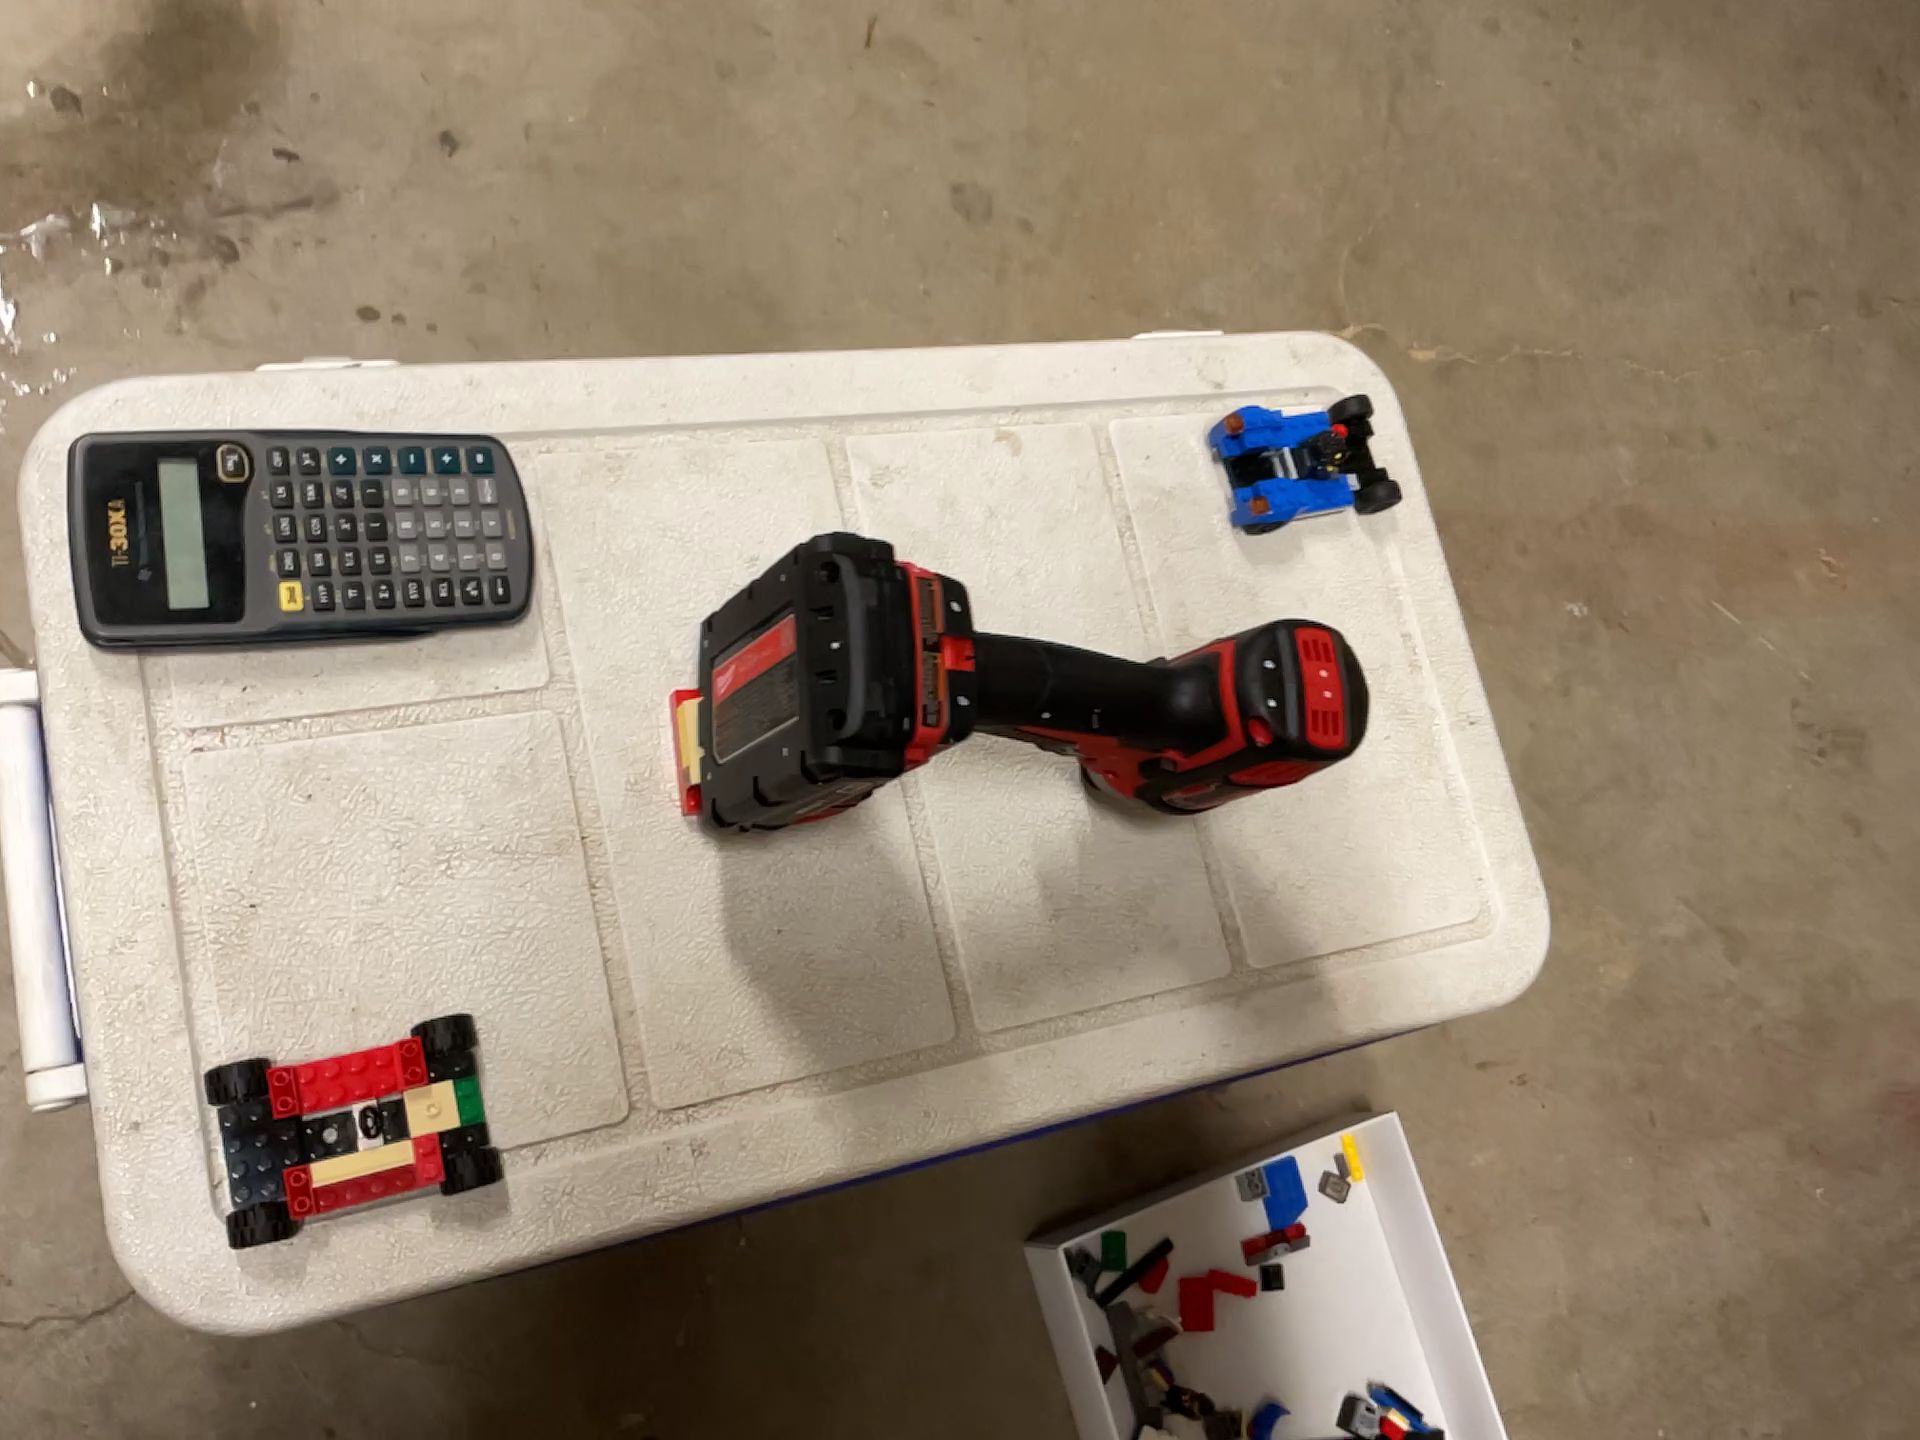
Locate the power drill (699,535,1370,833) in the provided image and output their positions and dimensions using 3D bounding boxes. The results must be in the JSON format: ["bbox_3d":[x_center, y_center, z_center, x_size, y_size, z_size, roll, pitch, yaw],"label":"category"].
[{"bbox_3d":[0.024,-0.001,0.583,0.219,0.143,0.079,5,75,-29],"label":"power drill"}]
